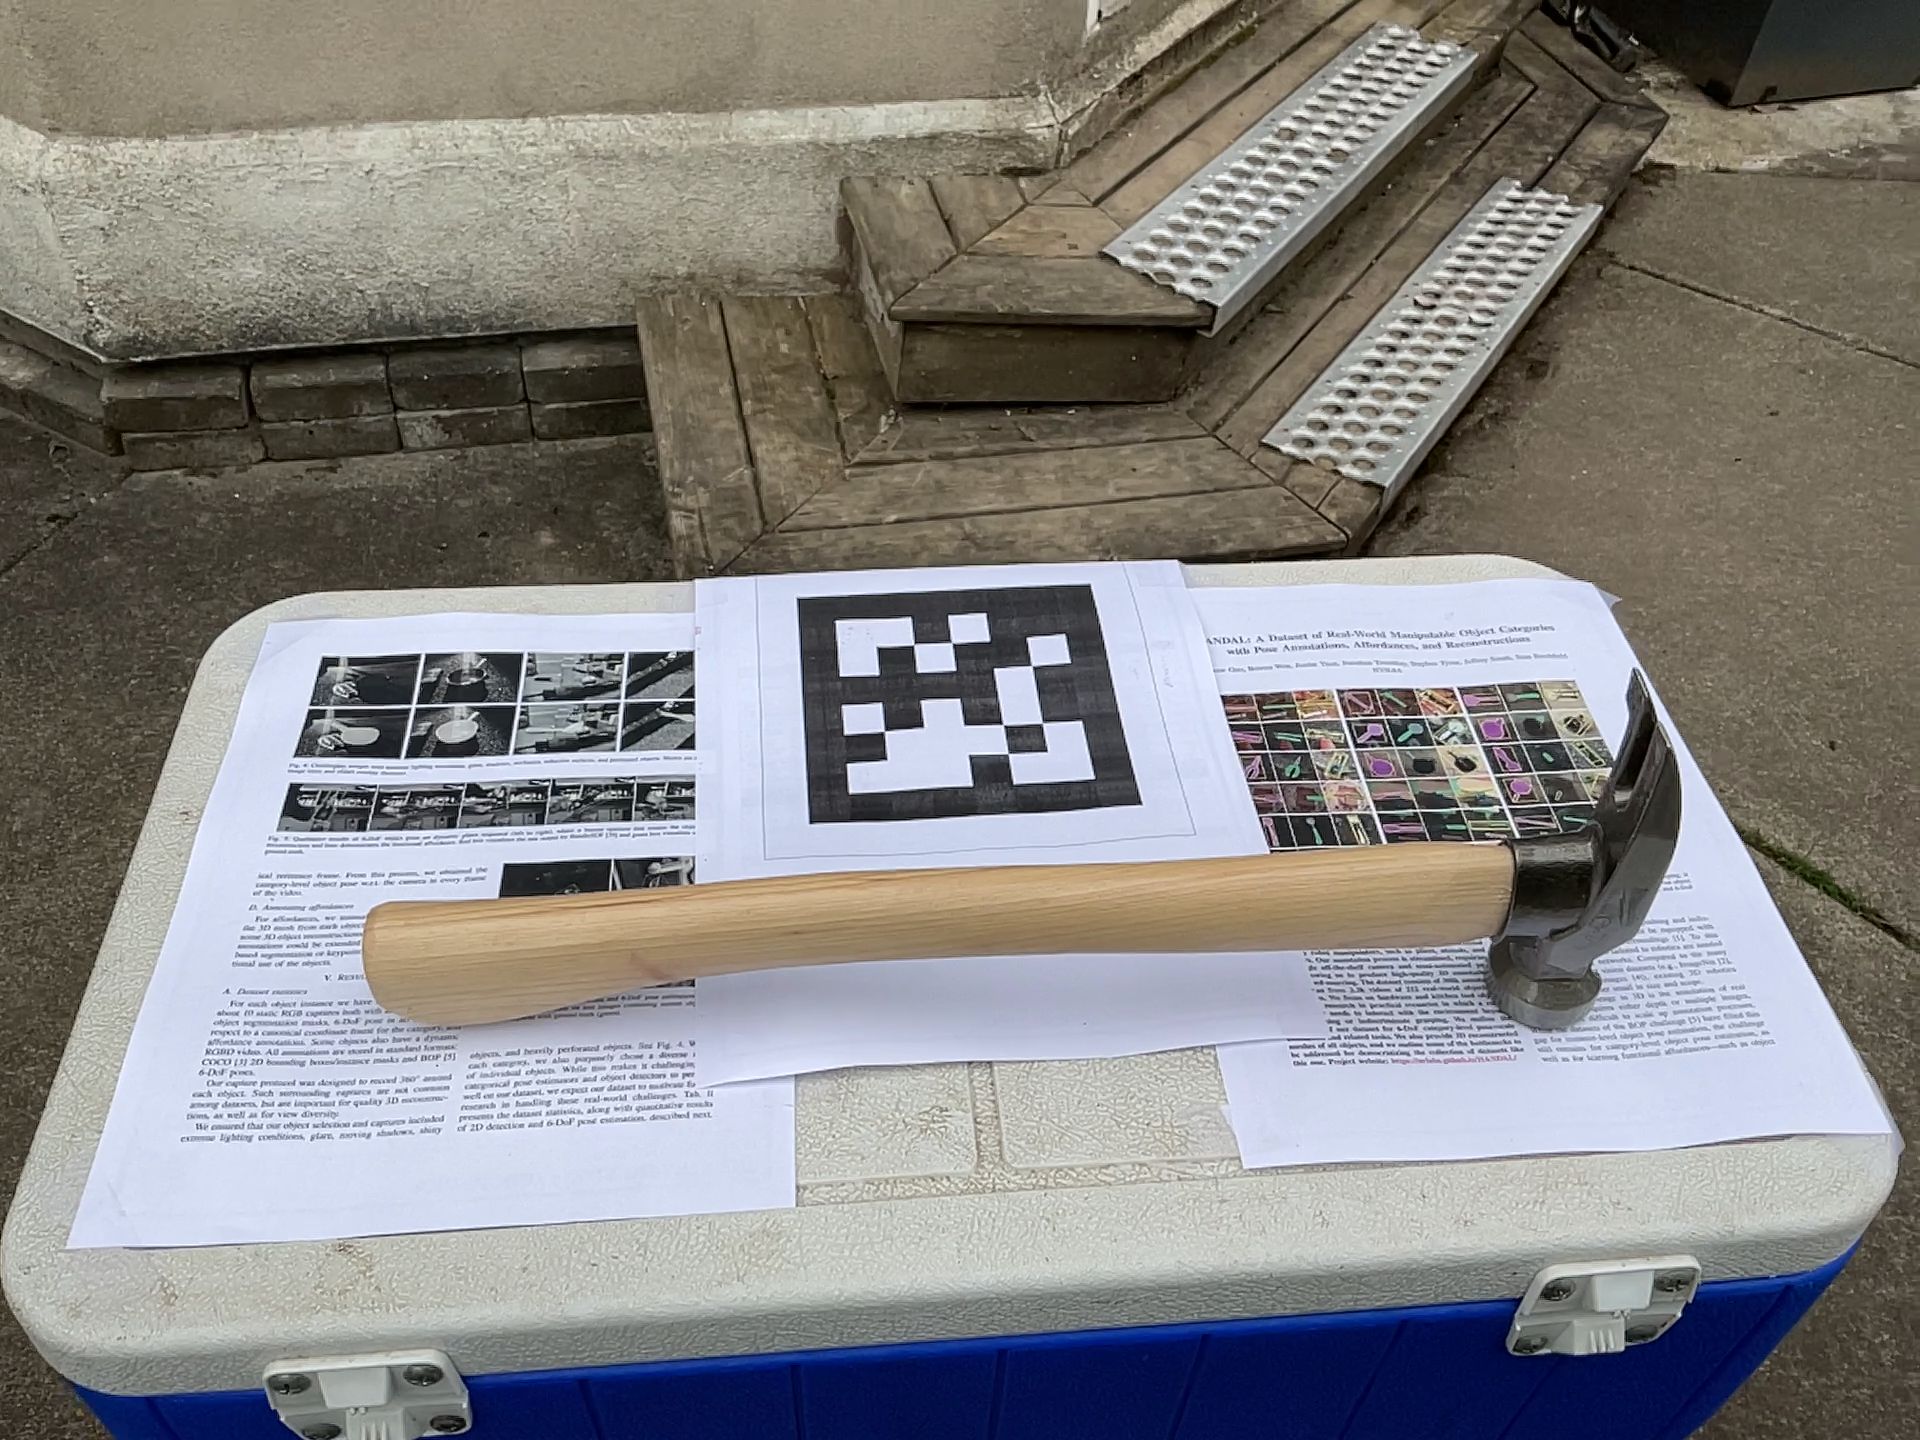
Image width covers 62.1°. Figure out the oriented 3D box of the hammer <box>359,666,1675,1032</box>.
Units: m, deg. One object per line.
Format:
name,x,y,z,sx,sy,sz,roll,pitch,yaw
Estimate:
hammer,0.013,0.057,0.512,0.410,0.146,0.038,-4,46,0
